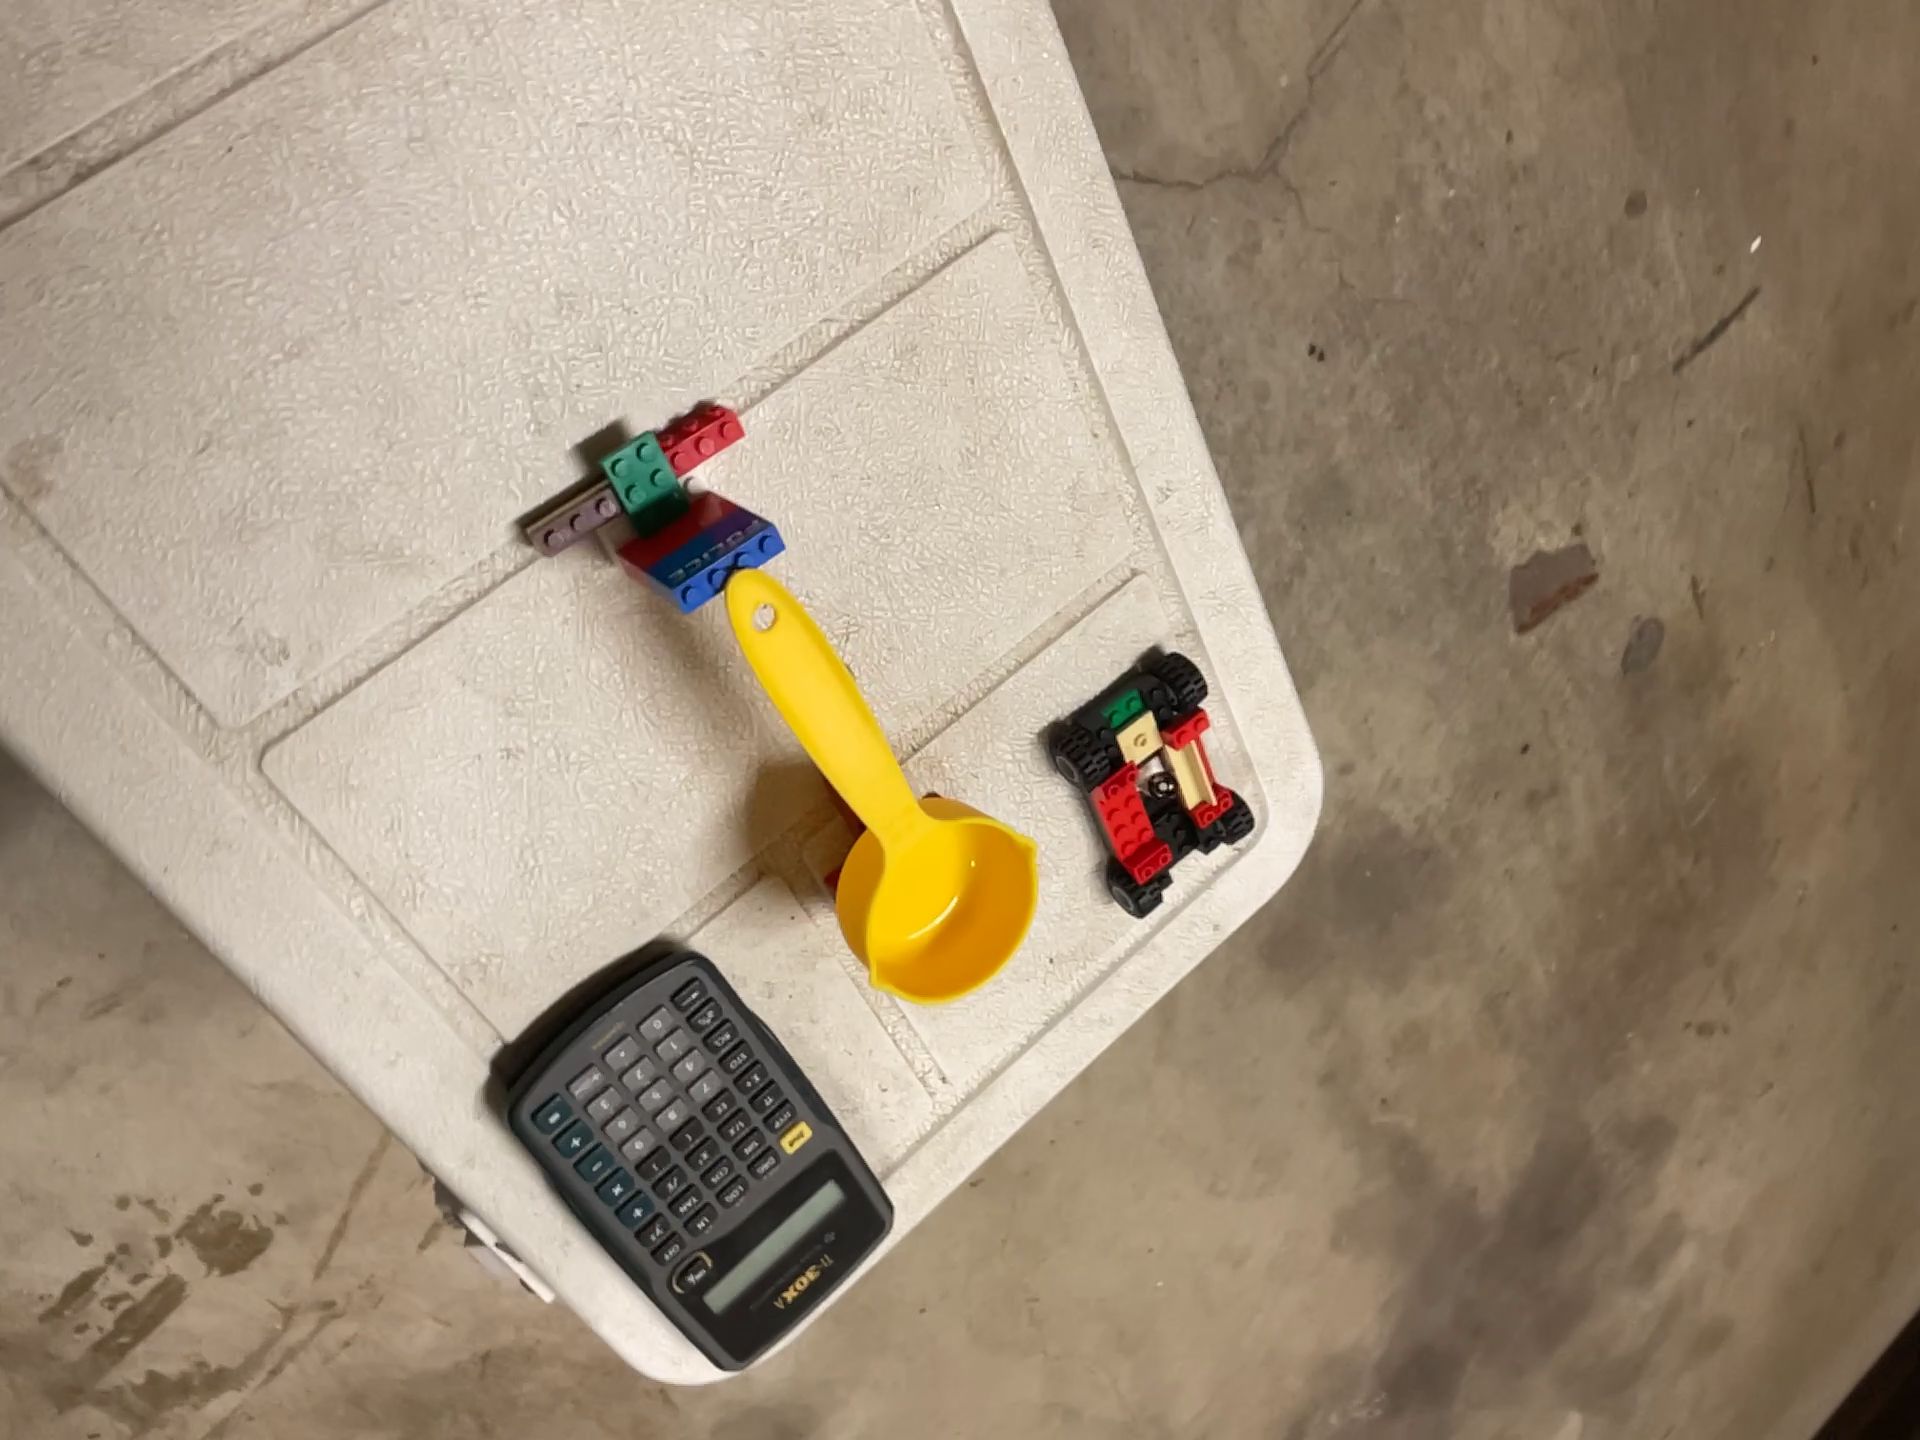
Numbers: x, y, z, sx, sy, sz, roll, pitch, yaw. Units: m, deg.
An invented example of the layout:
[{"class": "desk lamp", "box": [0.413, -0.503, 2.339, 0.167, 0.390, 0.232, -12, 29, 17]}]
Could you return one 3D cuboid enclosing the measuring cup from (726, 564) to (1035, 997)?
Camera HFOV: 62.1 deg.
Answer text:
[{"class": "measuring cup", "box": [-0.029, 0.016, 0.458, 0.062, 0.029, 0.156, -39, 123, -15]}]
